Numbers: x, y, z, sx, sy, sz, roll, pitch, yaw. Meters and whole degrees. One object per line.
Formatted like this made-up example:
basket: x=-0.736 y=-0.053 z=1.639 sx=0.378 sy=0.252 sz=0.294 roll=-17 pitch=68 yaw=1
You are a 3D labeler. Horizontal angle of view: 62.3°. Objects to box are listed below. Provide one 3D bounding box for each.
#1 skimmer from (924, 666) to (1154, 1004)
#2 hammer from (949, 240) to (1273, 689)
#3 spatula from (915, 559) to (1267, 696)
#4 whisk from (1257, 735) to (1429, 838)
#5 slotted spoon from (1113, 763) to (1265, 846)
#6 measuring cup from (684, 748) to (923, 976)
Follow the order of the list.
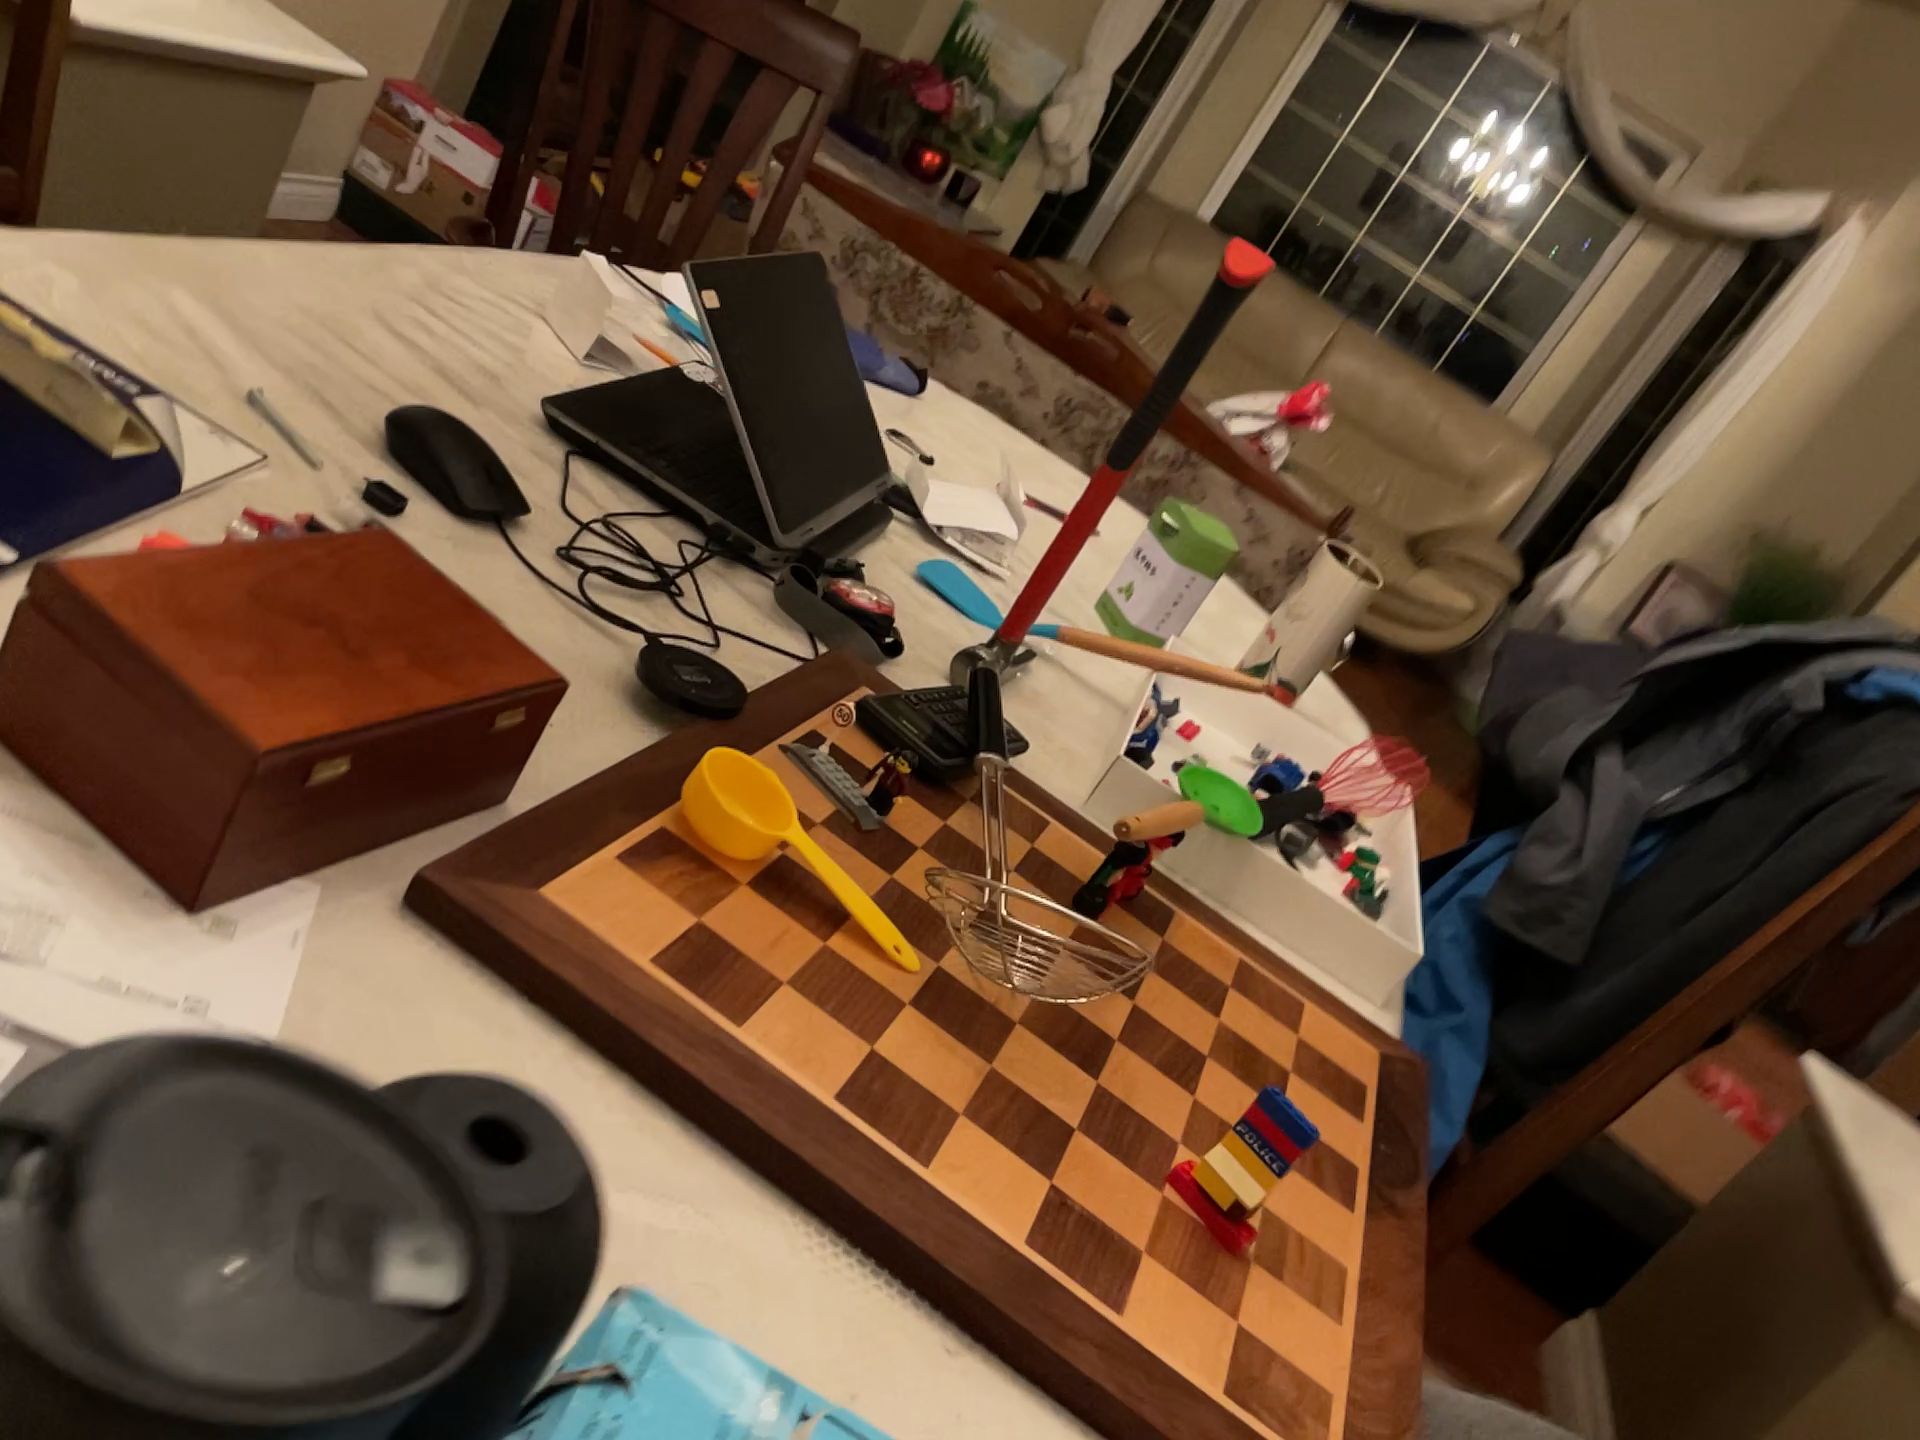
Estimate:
skimmer: x=0.036 y=0.041 z=0.941 sx=0.127 sy=0.090 sz=0.363 roll=25 pitch=27 yaw=-15
hammer: x=0.119 y=-0.188 z=1.224 sx=0.038 sy=0.386 sz=0.143 roll=36 pitch=22 yaw=8
spatula: x=0.112 y=-0.078 z=1.371 sx=0.318 sy=0.044 sz=0.082 roll=17 pitch=15 yaw=18
whisk: x=0.311 y=0.065 z=1.355 sx=0.295 sy=0.073 sz=0.073 roll=-13 pitch=30 yaw=-43
slotted spoon: x=0.142 y=0.060 z=1.012 sx=0.070 sy=0.031 sz=0.313 roll=41 pitch=14 yaw=15
measuring cup: x=-0.081 y=0.079 z=0.812 sx=0.156 sy=0.029 sz=0.062 roll=47 pitch=19 yaw=2
